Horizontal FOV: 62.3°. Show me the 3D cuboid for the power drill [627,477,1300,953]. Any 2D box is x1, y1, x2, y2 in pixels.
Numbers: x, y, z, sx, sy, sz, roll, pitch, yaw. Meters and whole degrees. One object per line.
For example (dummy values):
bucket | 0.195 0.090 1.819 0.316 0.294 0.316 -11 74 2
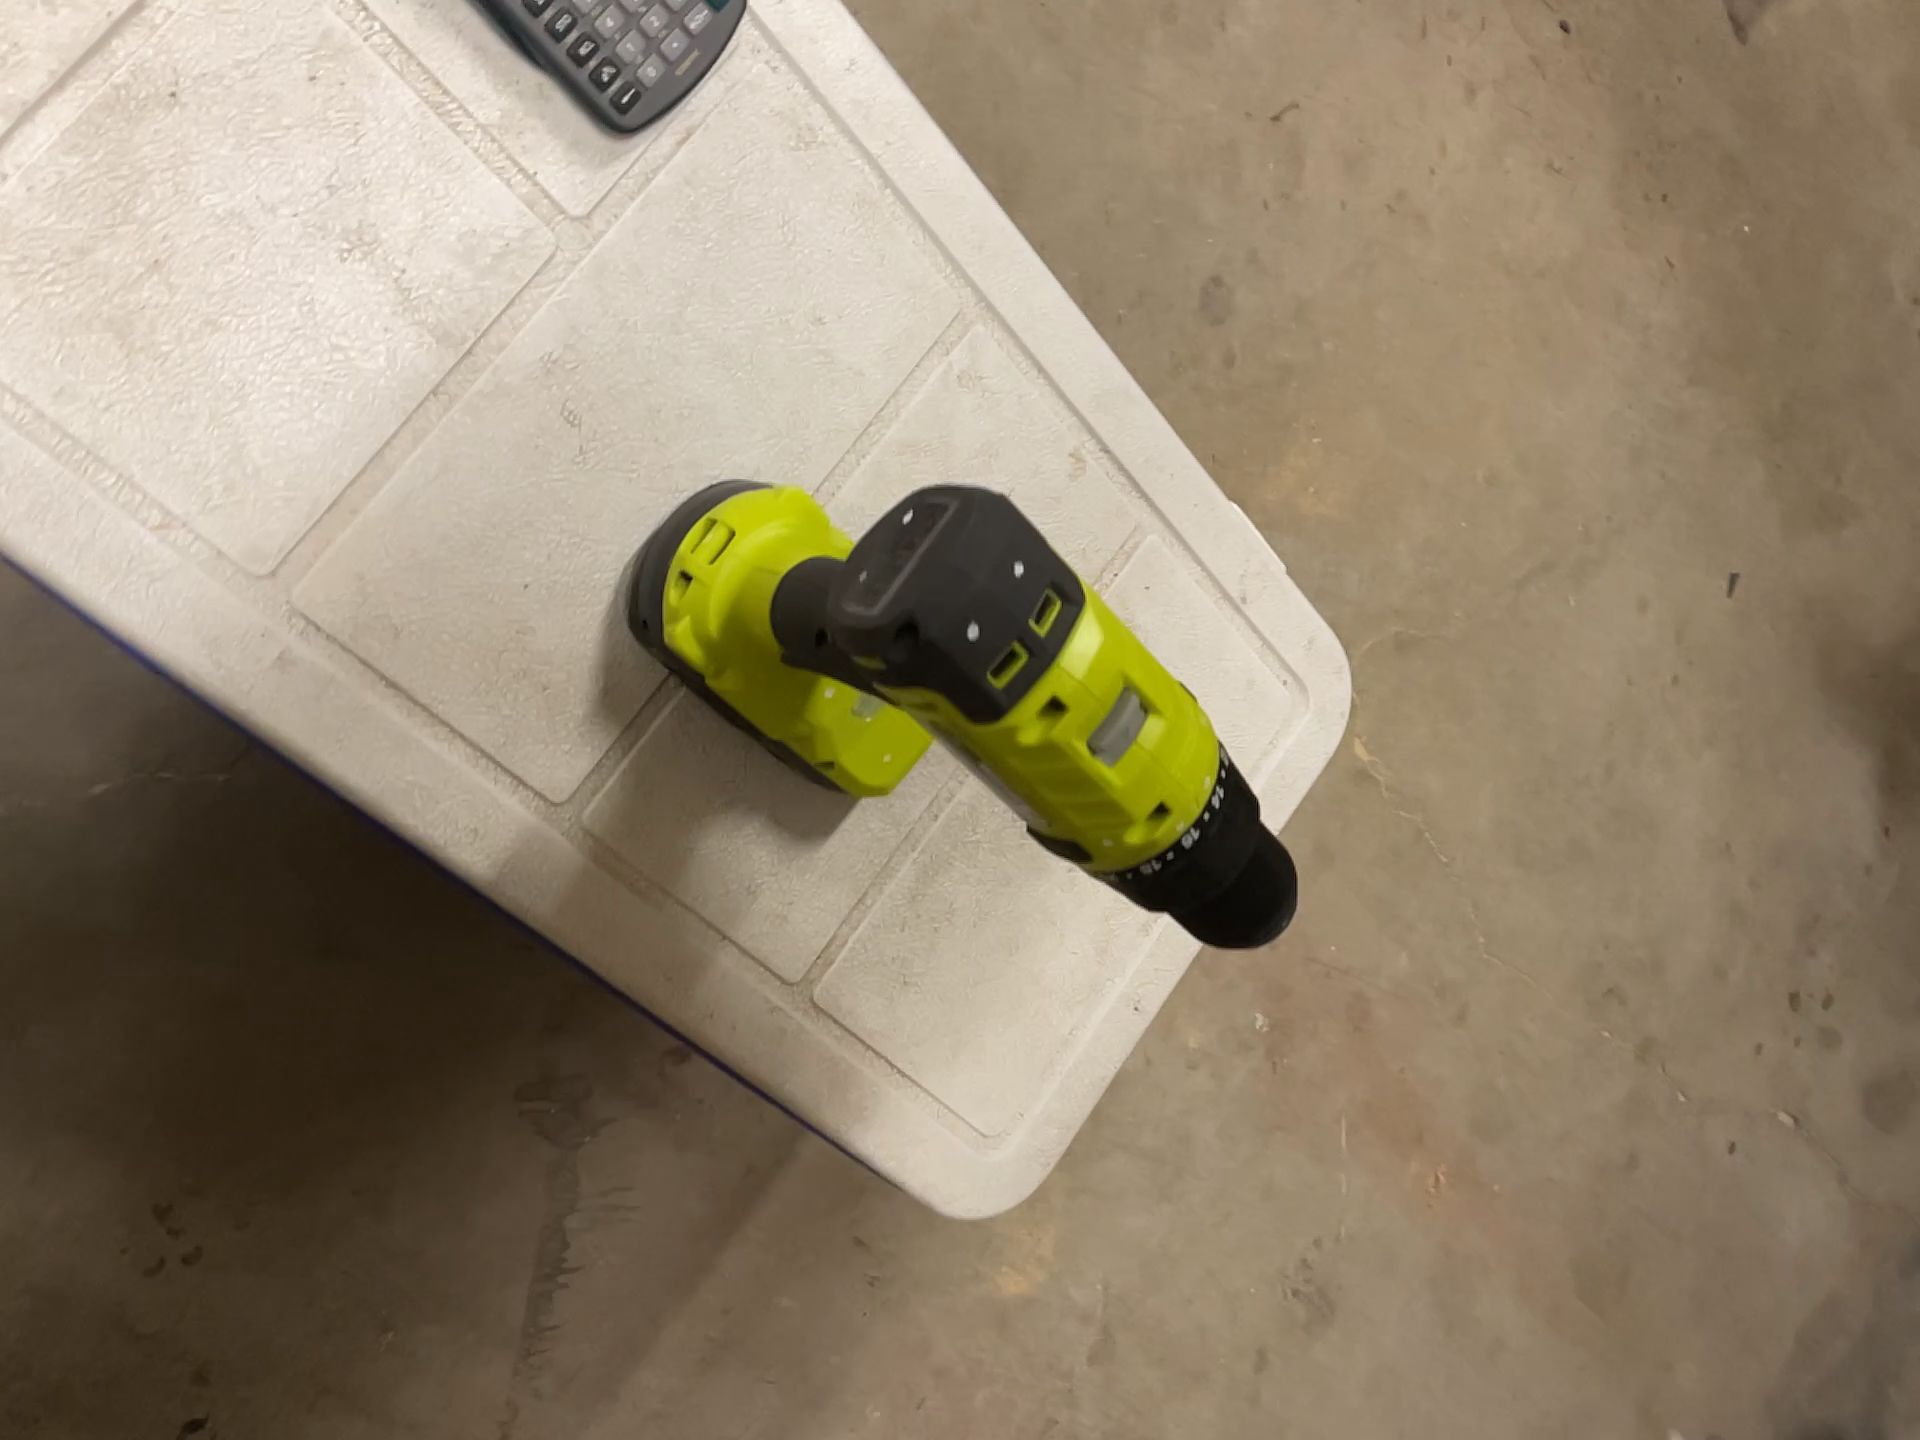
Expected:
power drill | -0.002 -0.005 0.538 0.190 0.228 0.080 44 76 -33
